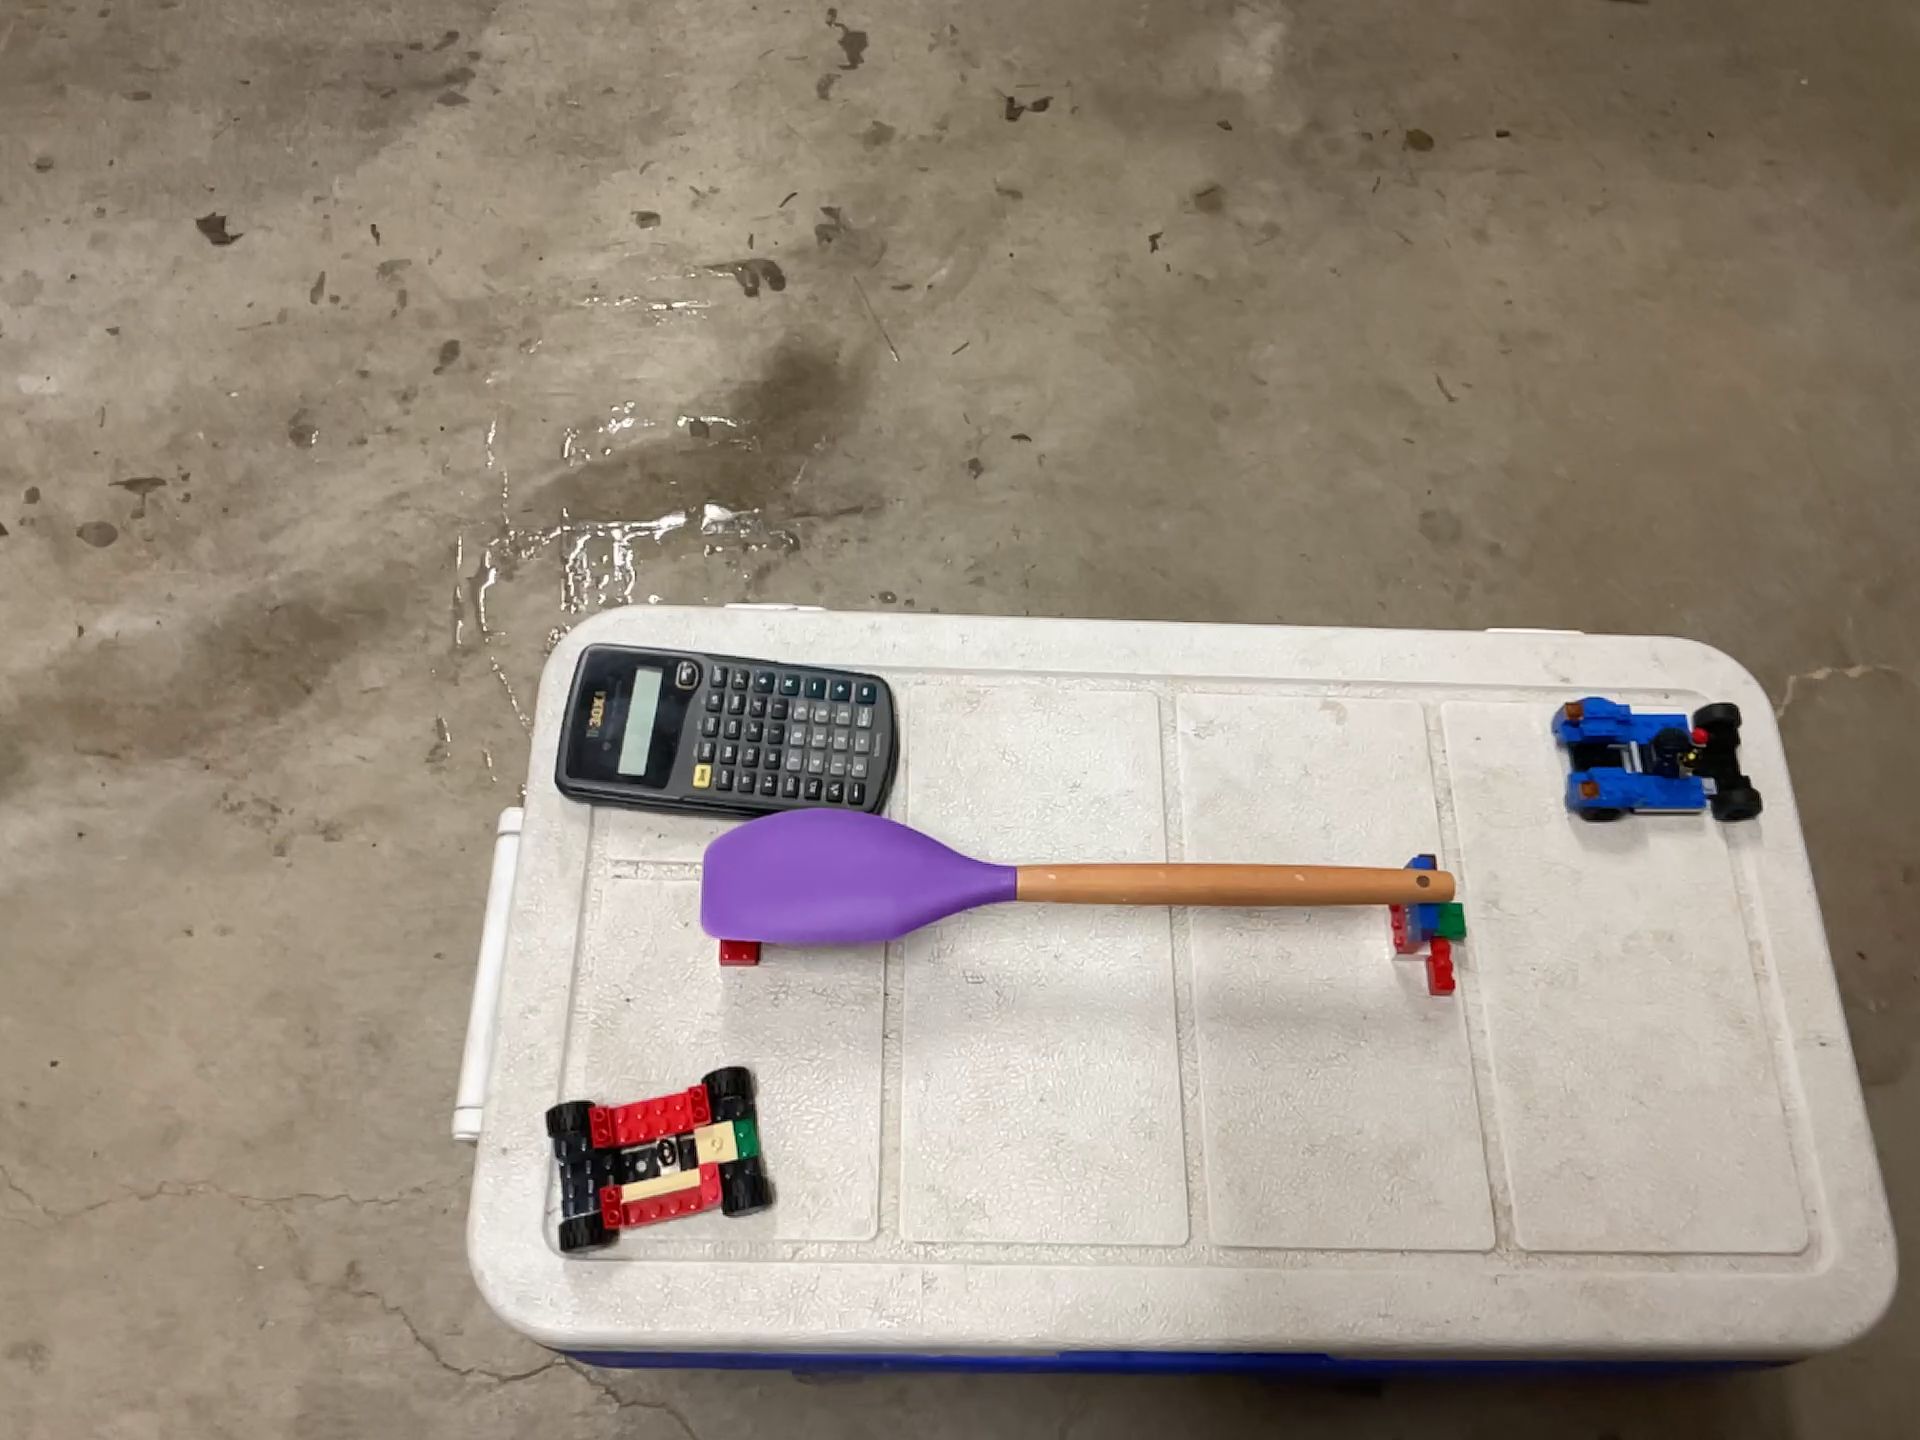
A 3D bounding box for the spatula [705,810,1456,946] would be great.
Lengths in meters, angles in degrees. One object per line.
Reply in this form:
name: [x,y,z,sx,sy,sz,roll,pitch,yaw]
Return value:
spatula: [0.051,0.067,0.674,0.316,0.018,0.060,1,66,-2]
